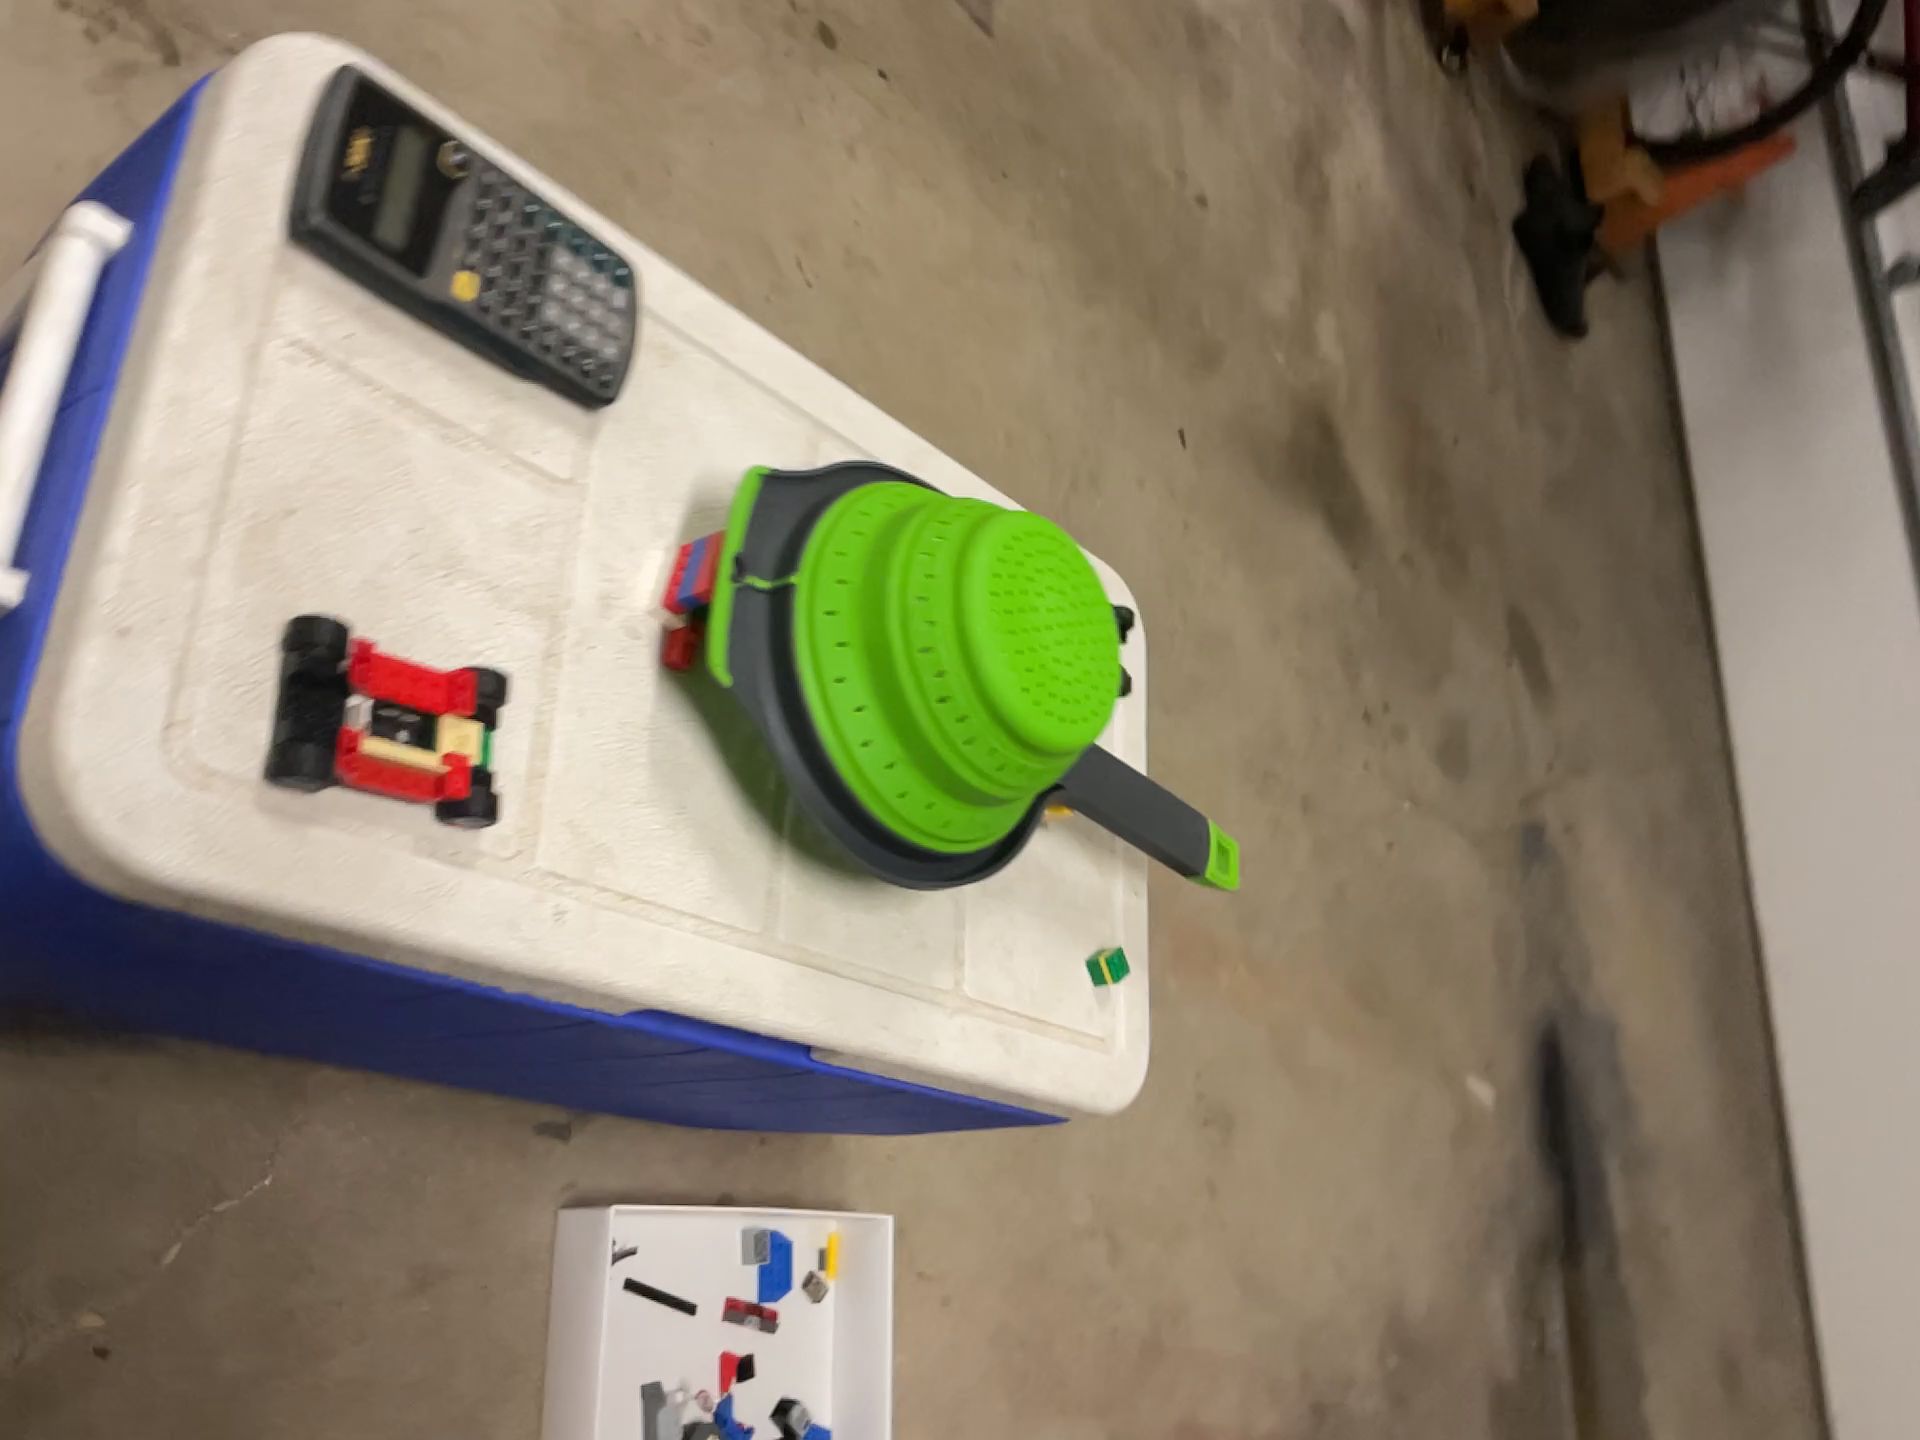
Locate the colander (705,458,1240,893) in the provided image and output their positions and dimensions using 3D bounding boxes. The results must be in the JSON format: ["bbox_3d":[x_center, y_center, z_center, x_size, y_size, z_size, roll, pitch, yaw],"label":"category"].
[{"bbox_3d":[0.058,0.001,0.764,0.396,0.094,0.205,32,55,-42],"label":"colander"}]
